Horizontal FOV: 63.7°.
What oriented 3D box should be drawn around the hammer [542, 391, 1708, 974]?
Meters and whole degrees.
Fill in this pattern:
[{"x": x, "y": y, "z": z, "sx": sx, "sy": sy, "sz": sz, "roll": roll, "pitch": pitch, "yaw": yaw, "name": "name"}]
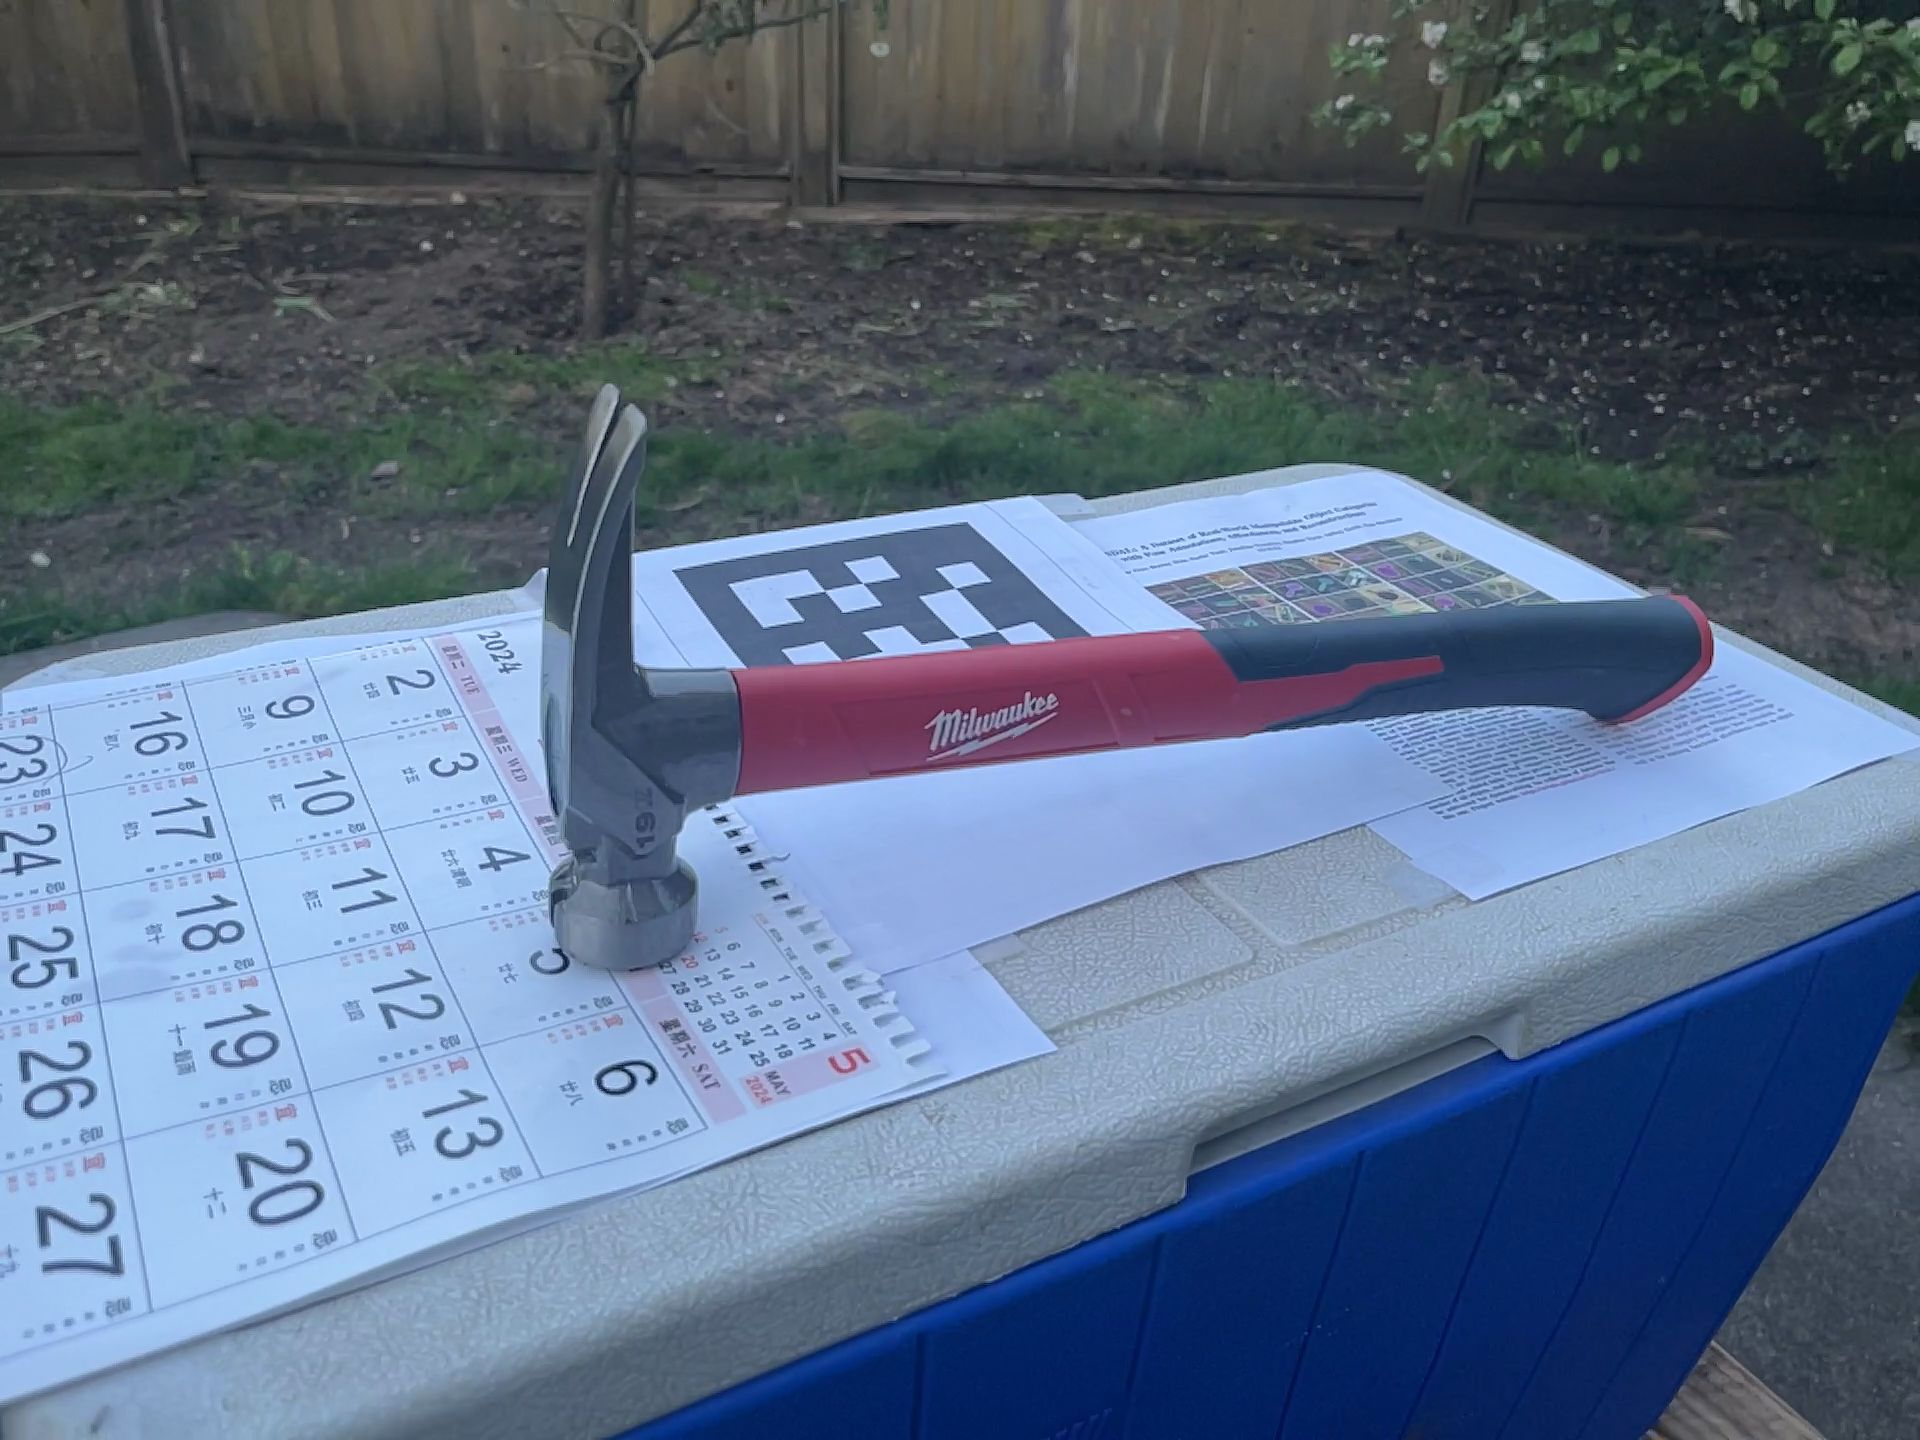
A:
[{"x": 0.077, "y": -0.023, "z": 0.448, "sx": 0.386, "sy": 0.143, "sz": 0.038, "roll": -6, "pitch": 30, "yaw": -26, "name": "hammer"}]
